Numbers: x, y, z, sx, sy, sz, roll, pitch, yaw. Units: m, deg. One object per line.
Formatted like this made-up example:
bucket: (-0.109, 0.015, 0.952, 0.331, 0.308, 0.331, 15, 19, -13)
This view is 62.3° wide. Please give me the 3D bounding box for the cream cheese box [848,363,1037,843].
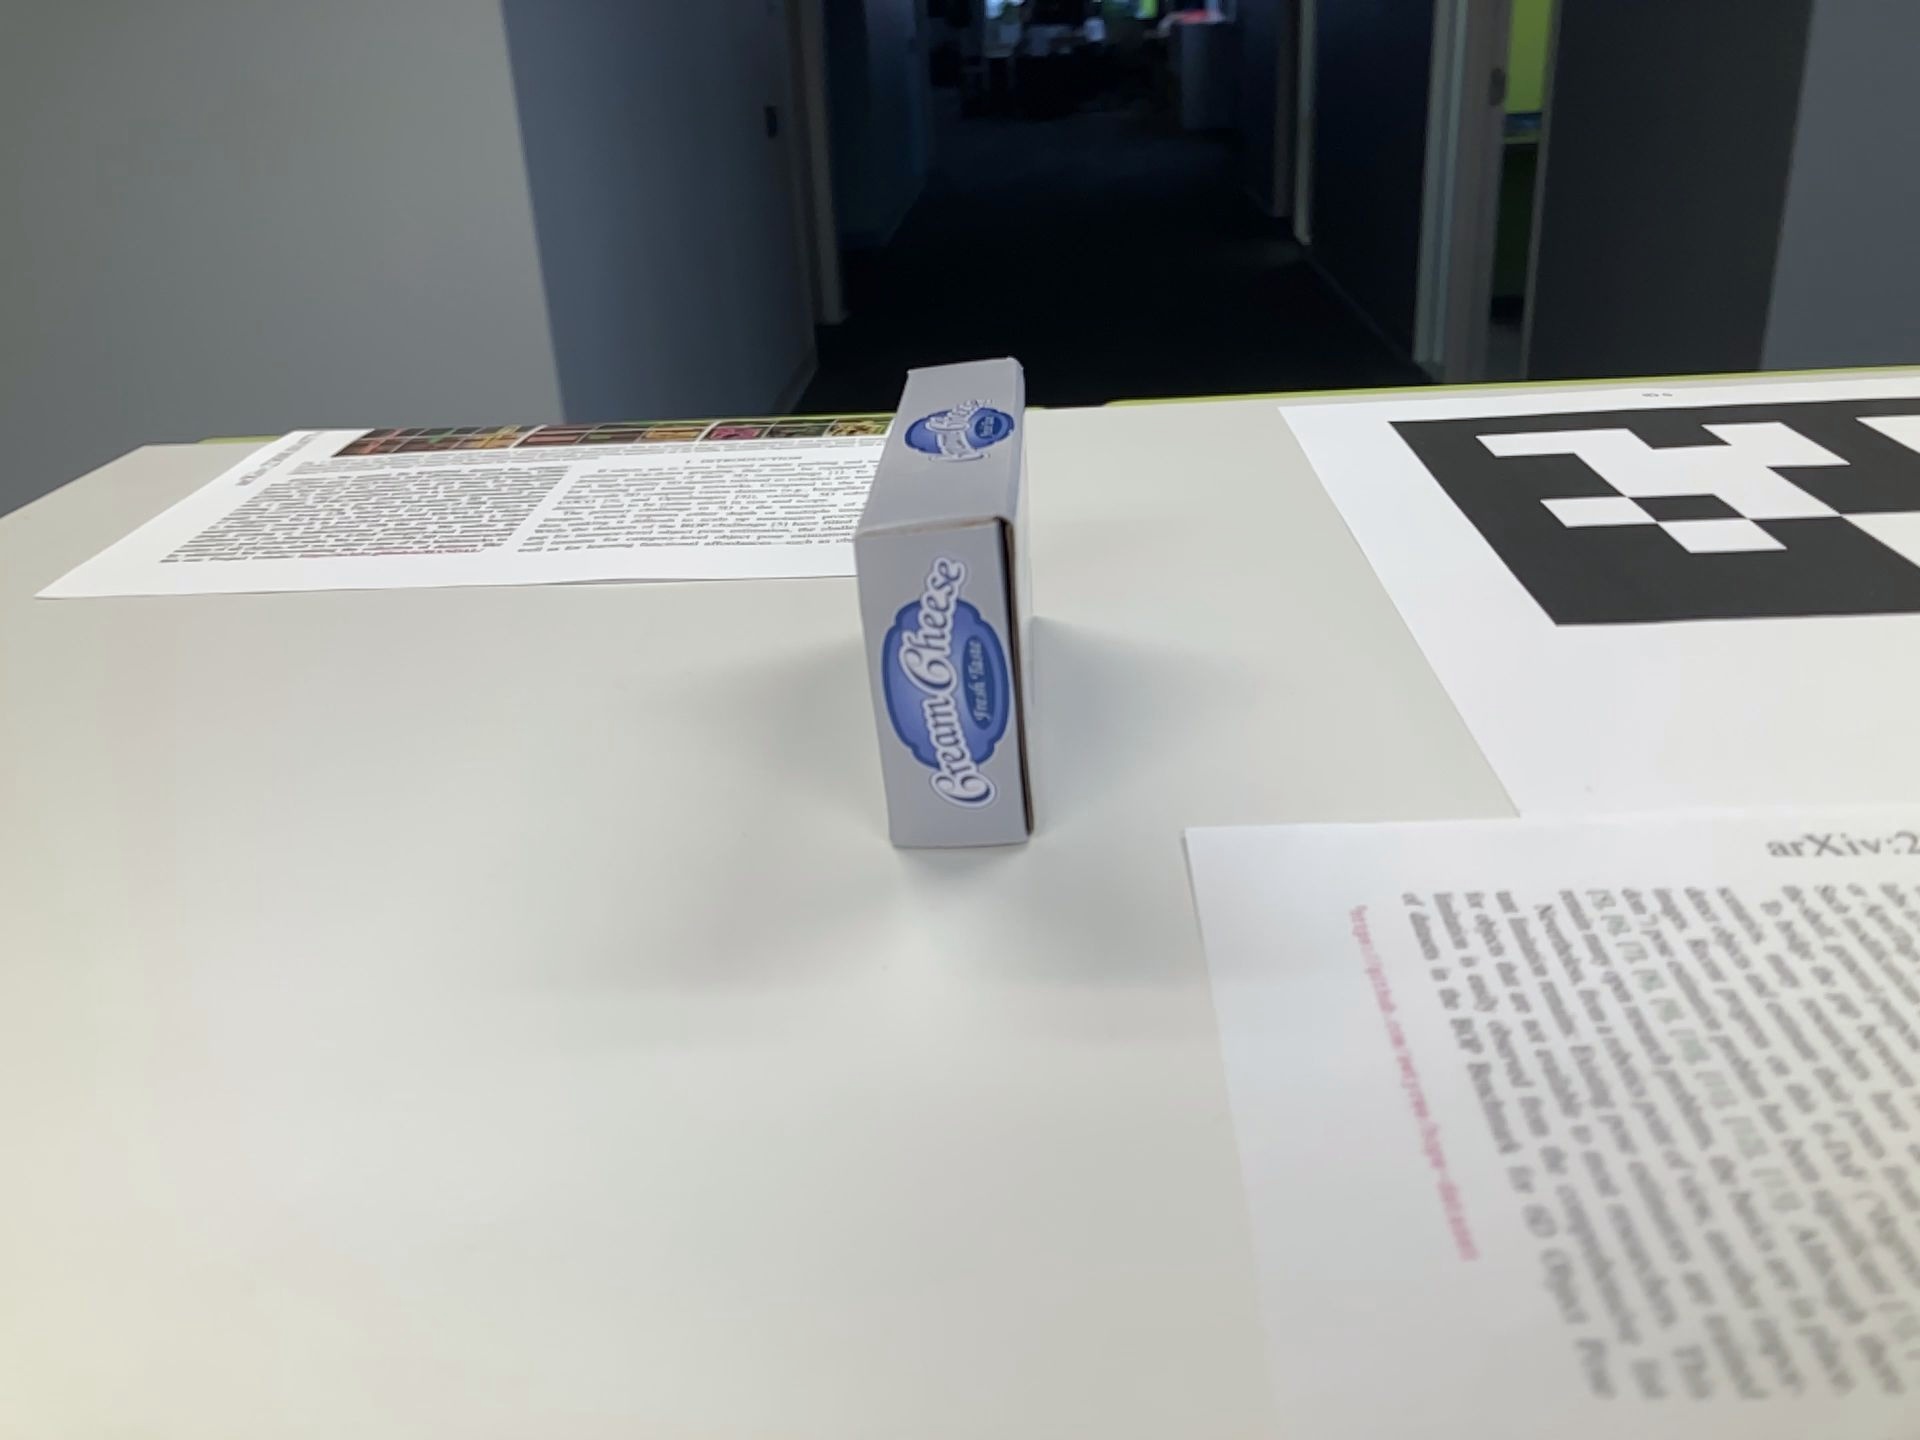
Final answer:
cream cheese box: (0.000, -0.025, 0.279, 0.024, 0.053, 0.104, -3, 24, 5)
